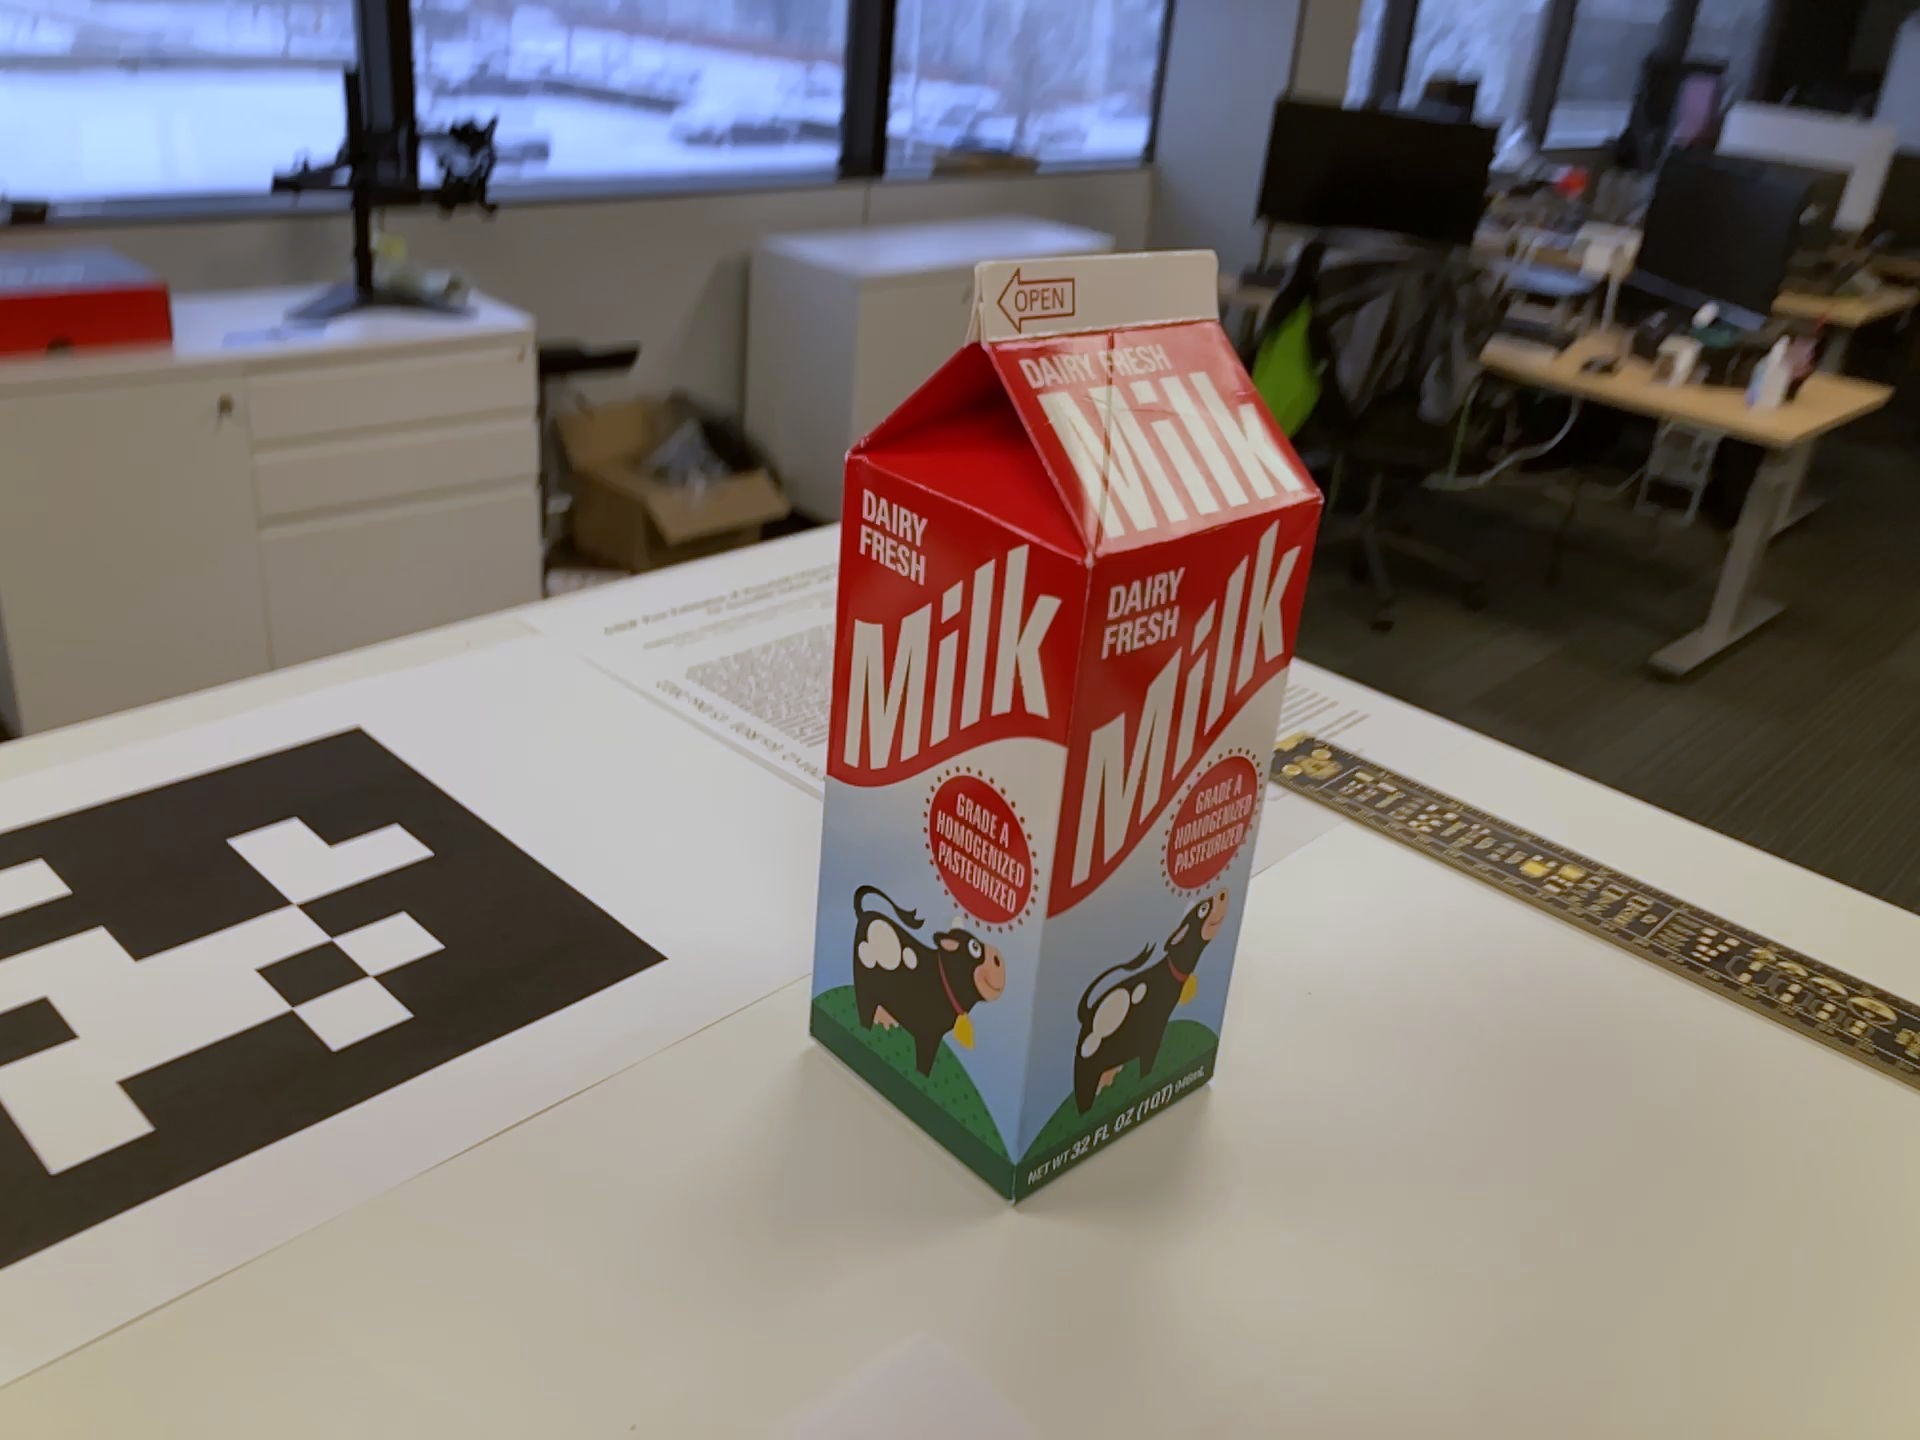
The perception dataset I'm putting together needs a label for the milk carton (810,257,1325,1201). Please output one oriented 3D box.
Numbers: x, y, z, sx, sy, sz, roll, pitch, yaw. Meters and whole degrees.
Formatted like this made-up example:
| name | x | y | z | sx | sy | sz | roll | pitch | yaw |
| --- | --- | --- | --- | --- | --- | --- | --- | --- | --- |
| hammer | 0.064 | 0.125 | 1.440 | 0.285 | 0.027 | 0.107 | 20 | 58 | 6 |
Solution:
| name | x | y | z | sx | sy | sz | roll | pitch | yaw |
| --- | --- | --- | --- | --- | --- | --- | --- | --- | --- |
| milk carton | 0.020 | -0.002 | 0.345 | 0.072 | 0.190 | 0.073 | -17 | 34 | -40 |
